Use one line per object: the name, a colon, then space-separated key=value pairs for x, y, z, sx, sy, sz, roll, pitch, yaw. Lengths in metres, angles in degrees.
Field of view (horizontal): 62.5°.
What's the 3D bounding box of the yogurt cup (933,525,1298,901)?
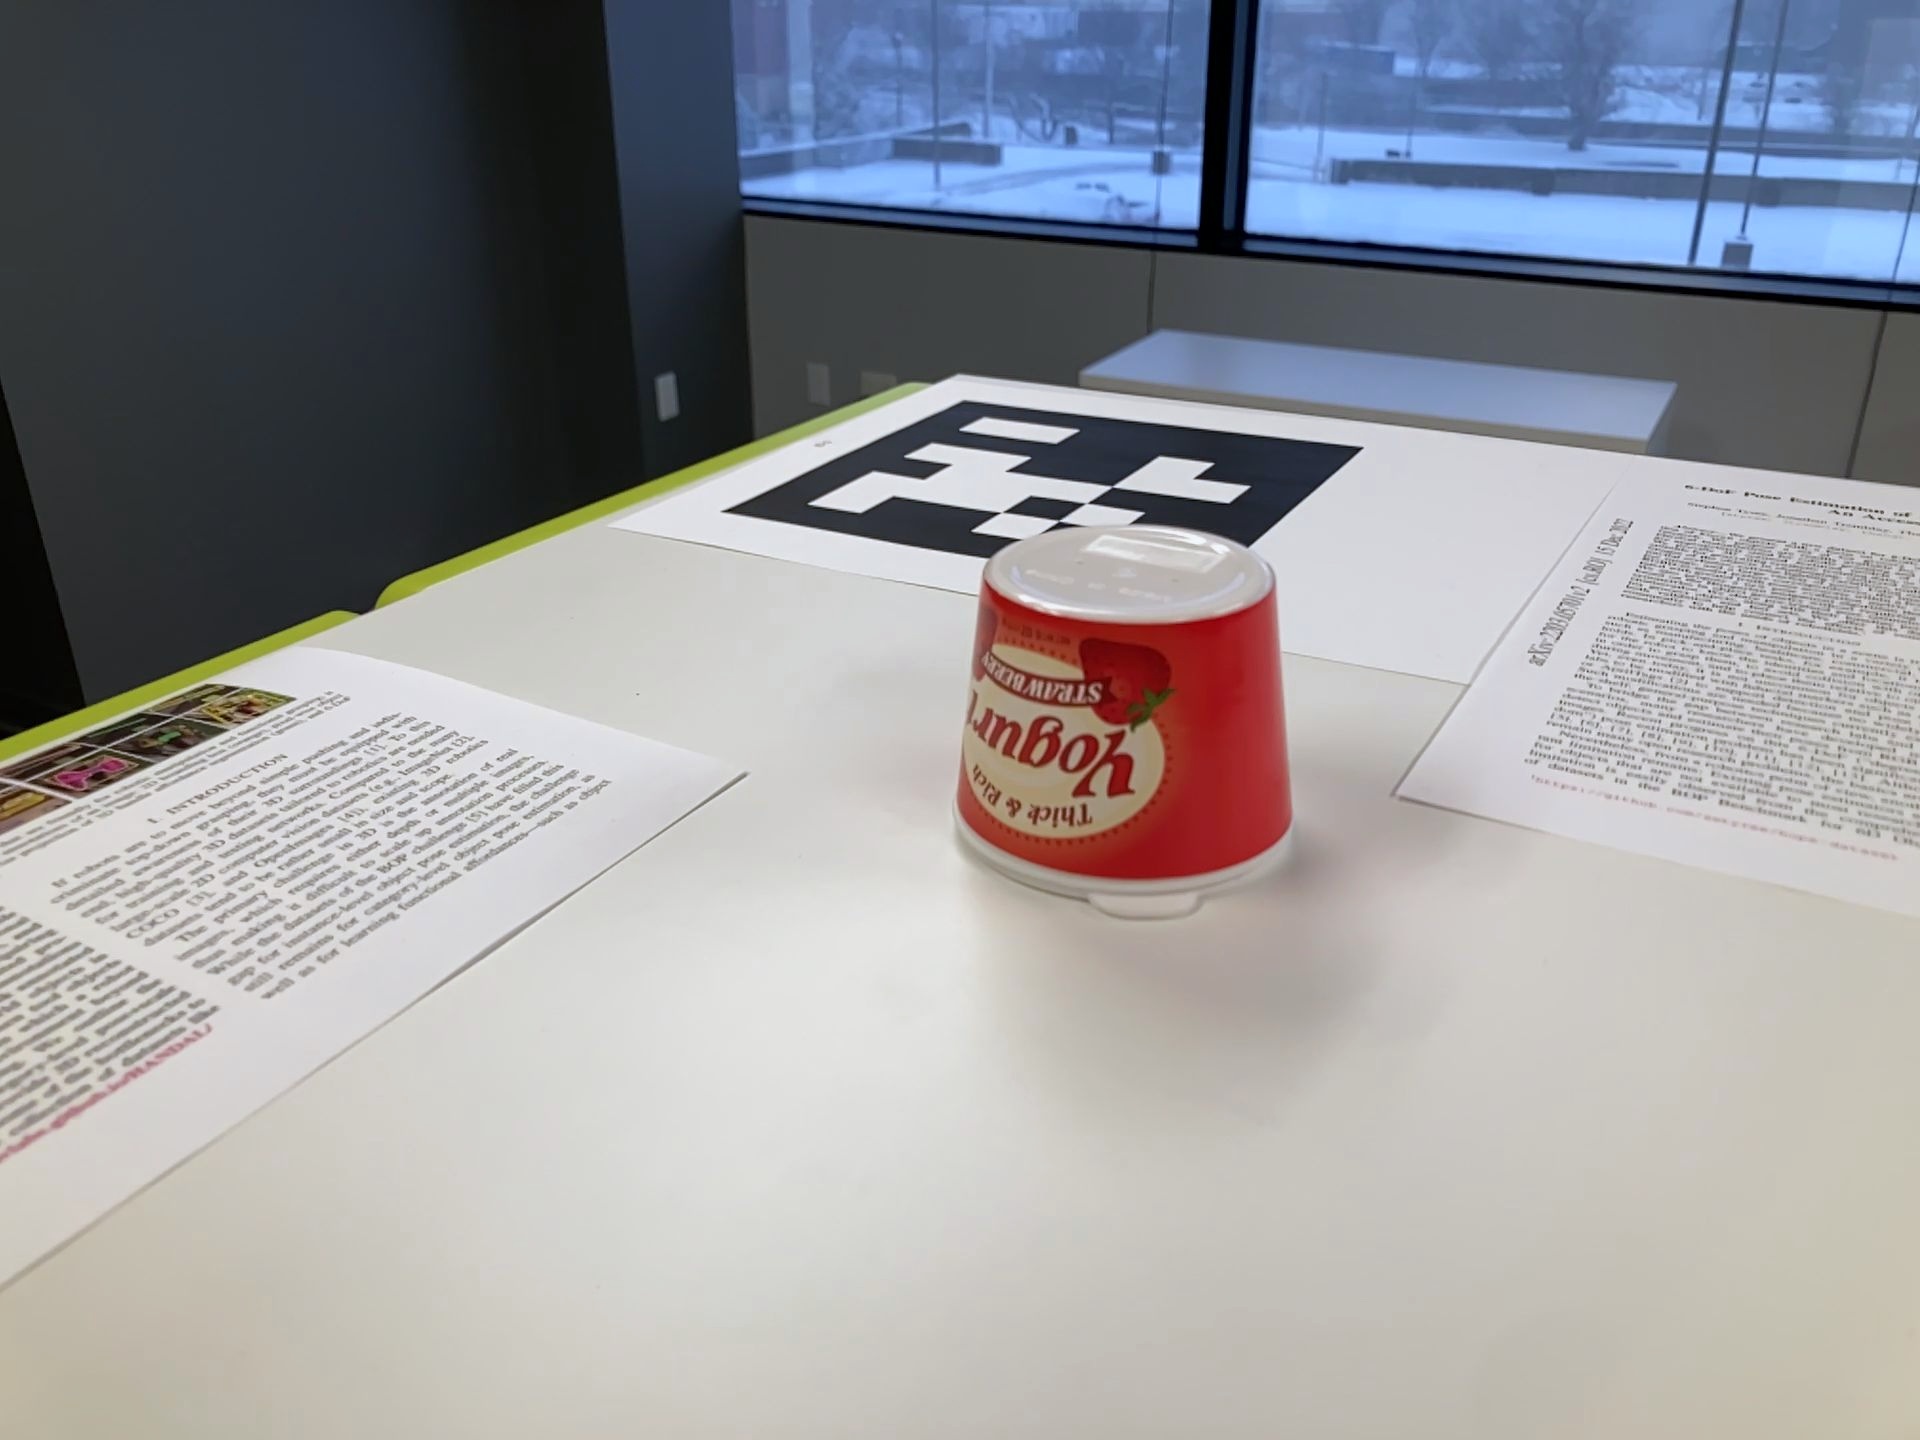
yogurt cup: x=0.032 y=-0.005 z=0.307 sx=0.072 sy=0.054 sz=0.072 roll=-2 pitch=24 yaw=1
